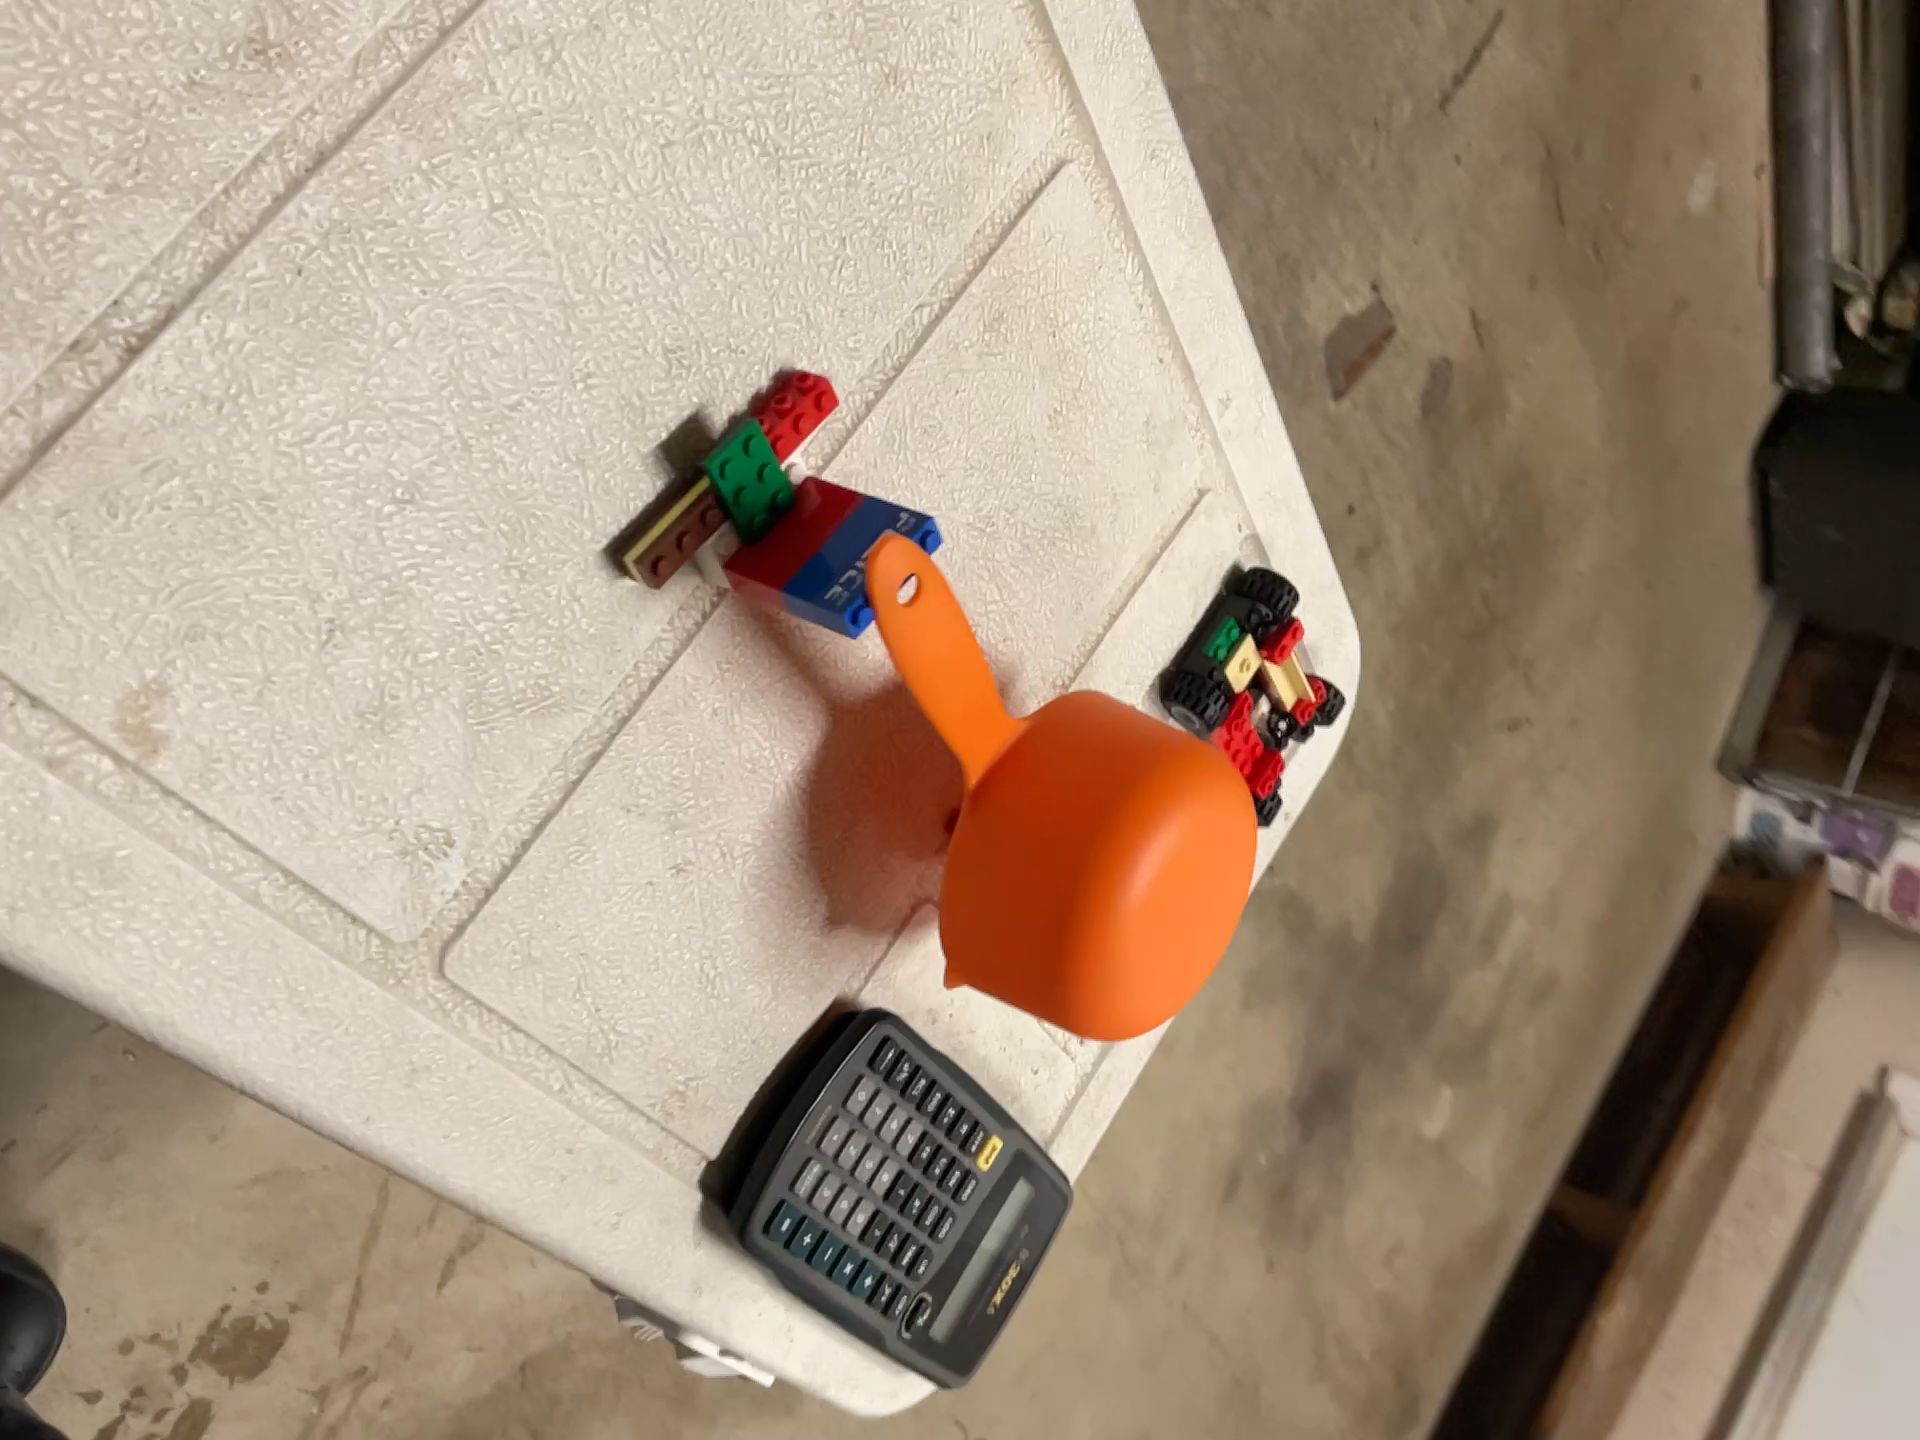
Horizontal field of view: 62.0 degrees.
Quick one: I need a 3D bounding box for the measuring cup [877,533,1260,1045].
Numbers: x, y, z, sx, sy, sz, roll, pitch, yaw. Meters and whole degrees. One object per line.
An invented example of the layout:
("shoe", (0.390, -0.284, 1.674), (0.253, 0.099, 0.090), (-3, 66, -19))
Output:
("measuring cup", (0.028, 0.018, 0.386), (0.095, 0.052, 0.173), (-54, 146, -19))
